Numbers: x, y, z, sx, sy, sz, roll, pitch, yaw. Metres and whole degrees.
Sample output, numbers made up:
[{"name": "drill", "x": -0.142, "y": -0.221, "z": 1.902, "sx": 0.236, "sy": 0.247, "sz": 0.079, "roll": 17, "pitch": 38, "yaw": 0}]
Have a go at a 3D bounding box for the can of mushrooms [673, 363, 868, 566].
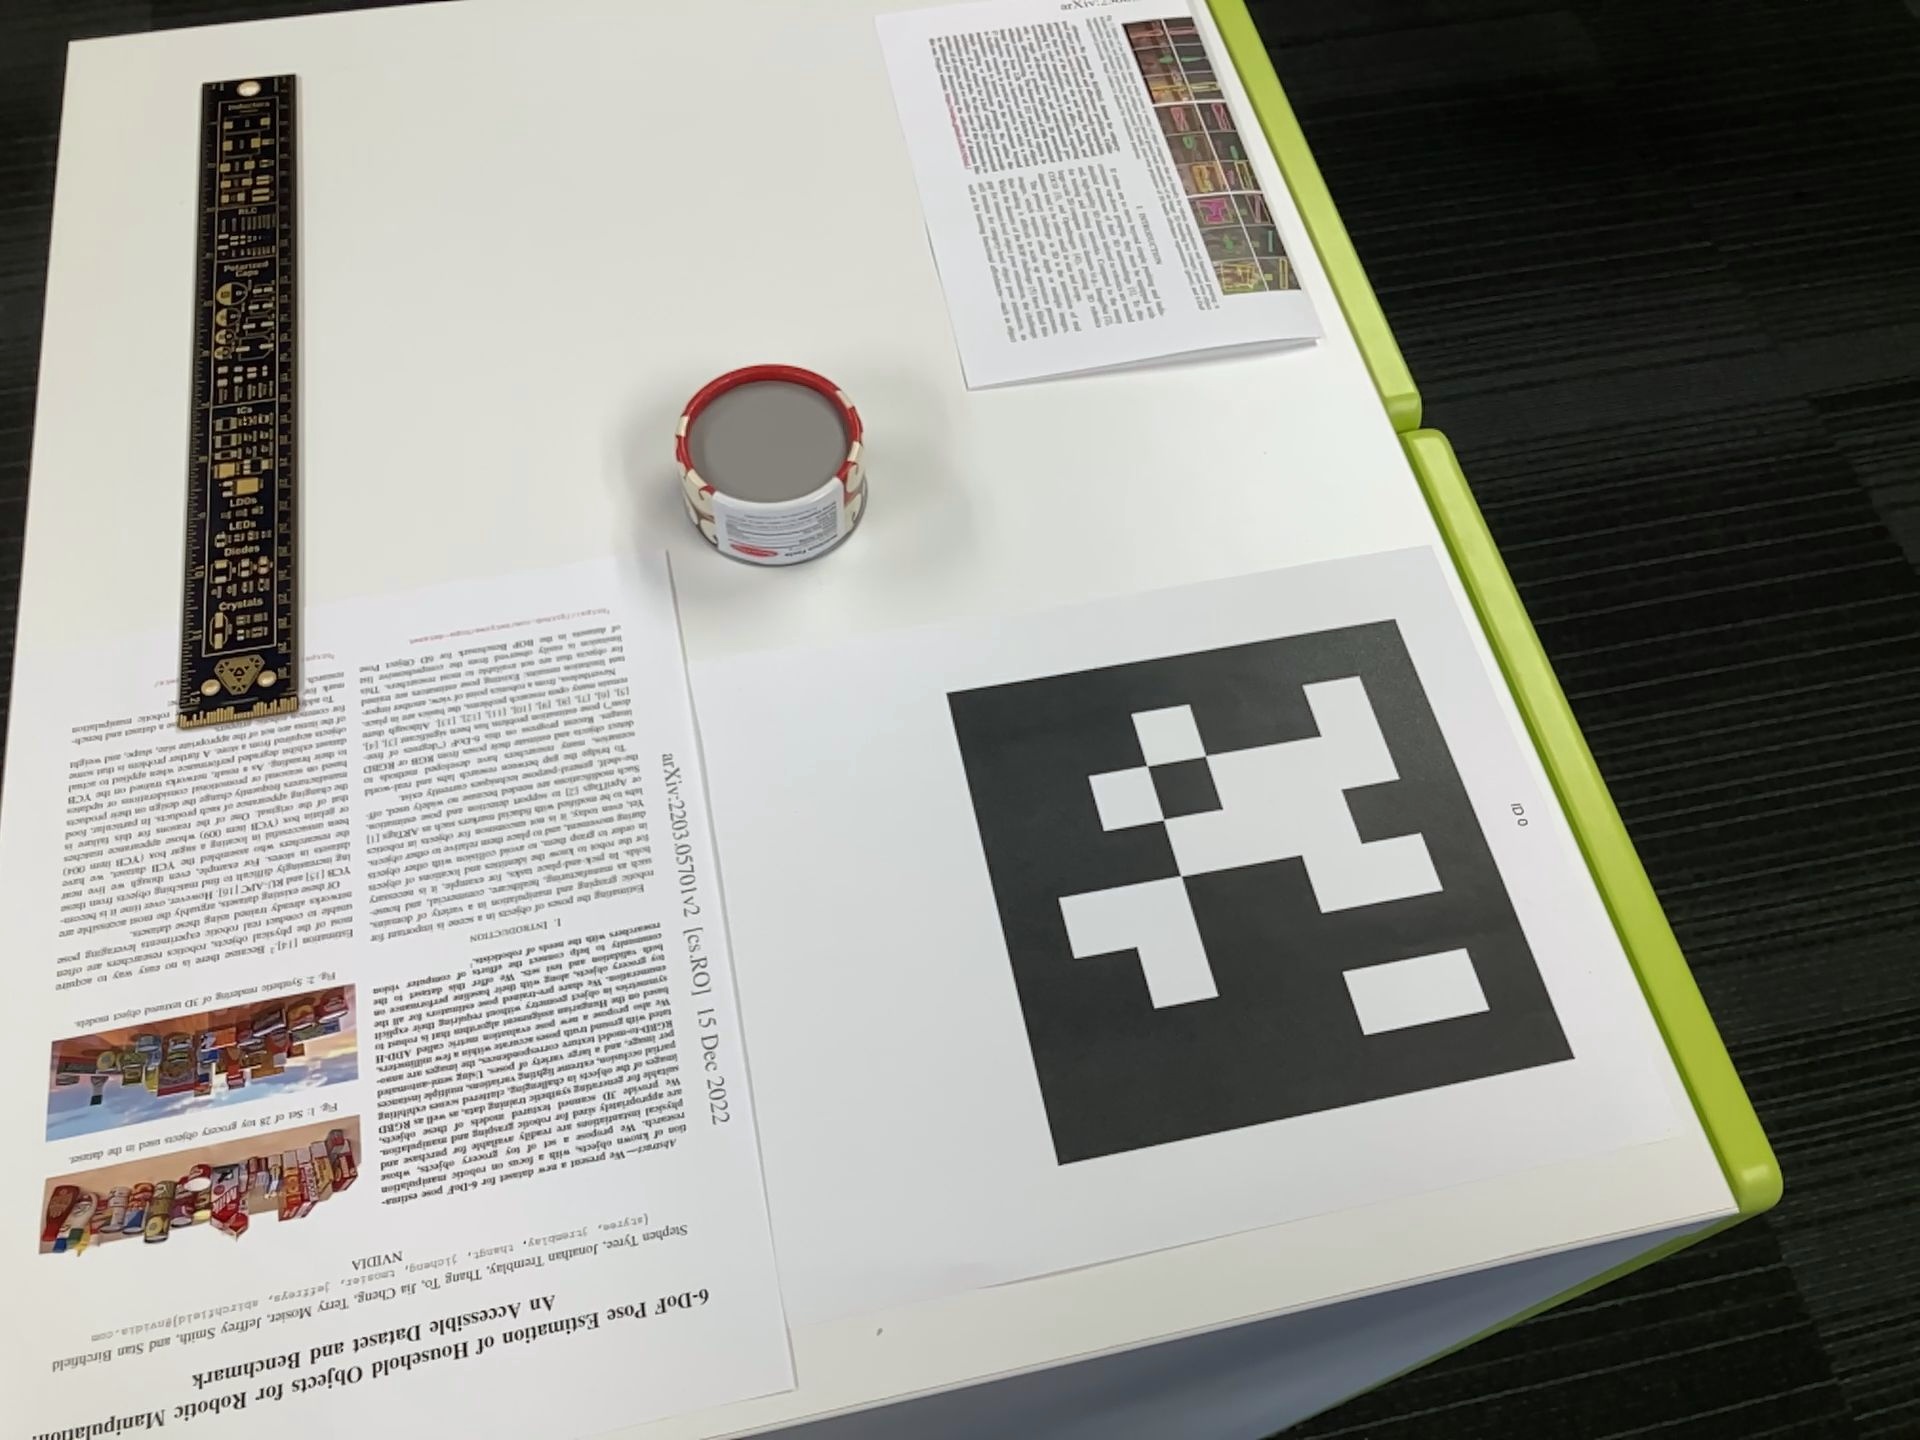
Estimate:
[{"name": "can of mushrooms", "x": -0.067, "y": -0.092, "z": 0.558, "sx": 0.071, "sy": 0.033, "sz": 0.071, "roll": 0, "pitch": 60, "yaw": -1}]
